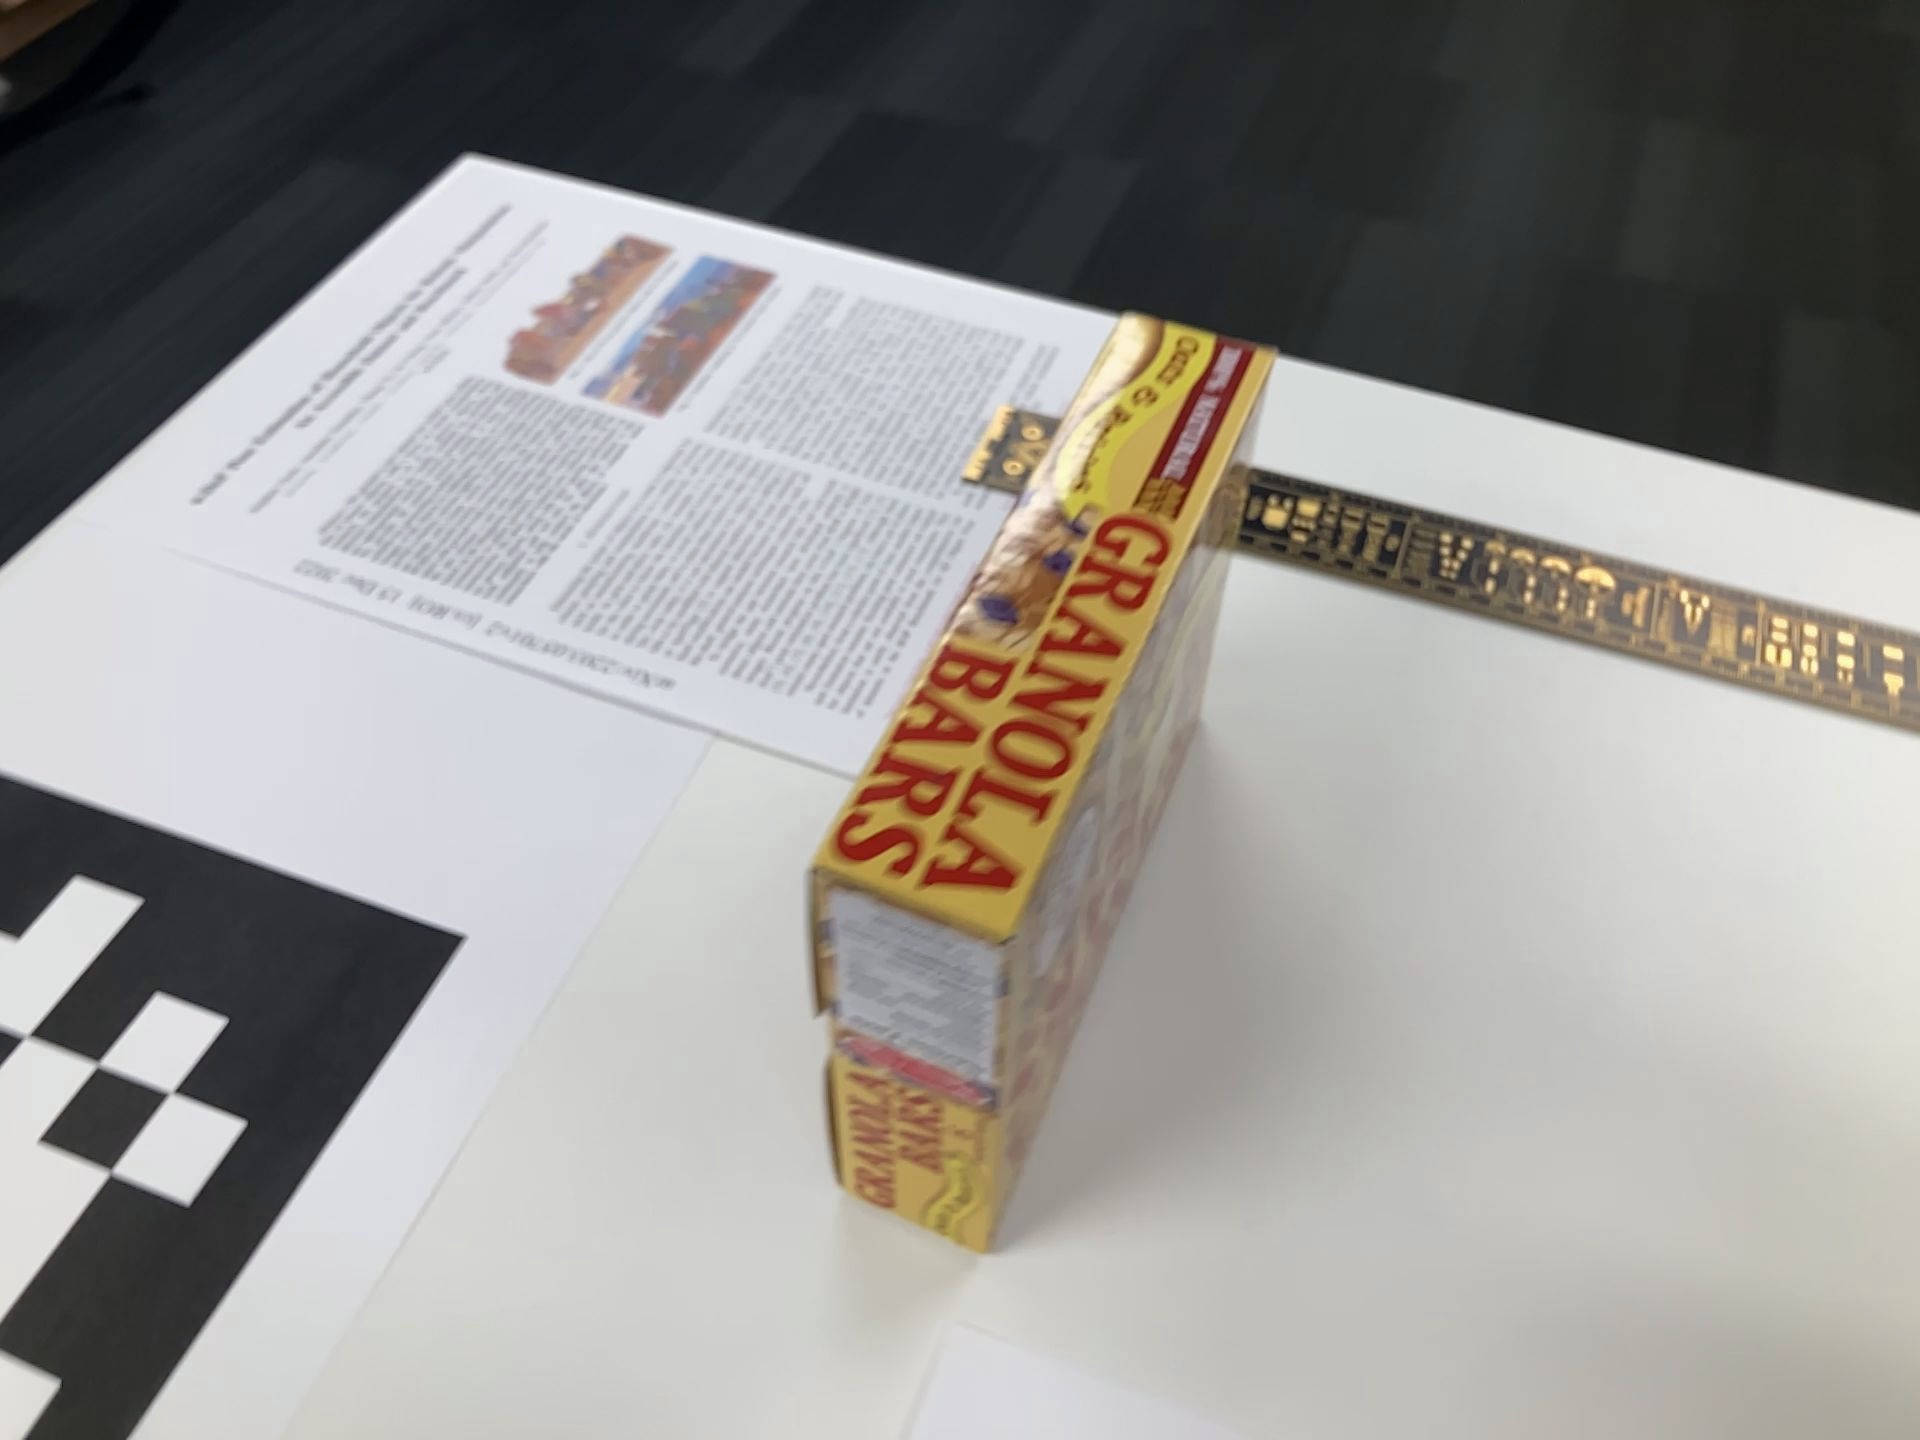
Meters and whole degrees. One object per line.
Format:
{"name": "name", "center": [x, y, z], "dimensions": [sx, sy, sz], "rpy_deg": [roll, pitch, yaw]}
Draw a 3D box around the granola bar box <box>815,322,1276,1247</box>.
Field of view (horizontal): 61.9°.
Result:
{"name": "granola bar box", "center": [0.021, 0.011, 0.354], "dimensions": [0.039, 0.124, 0.165], "rpy_deg": [17, 51, 13]}
